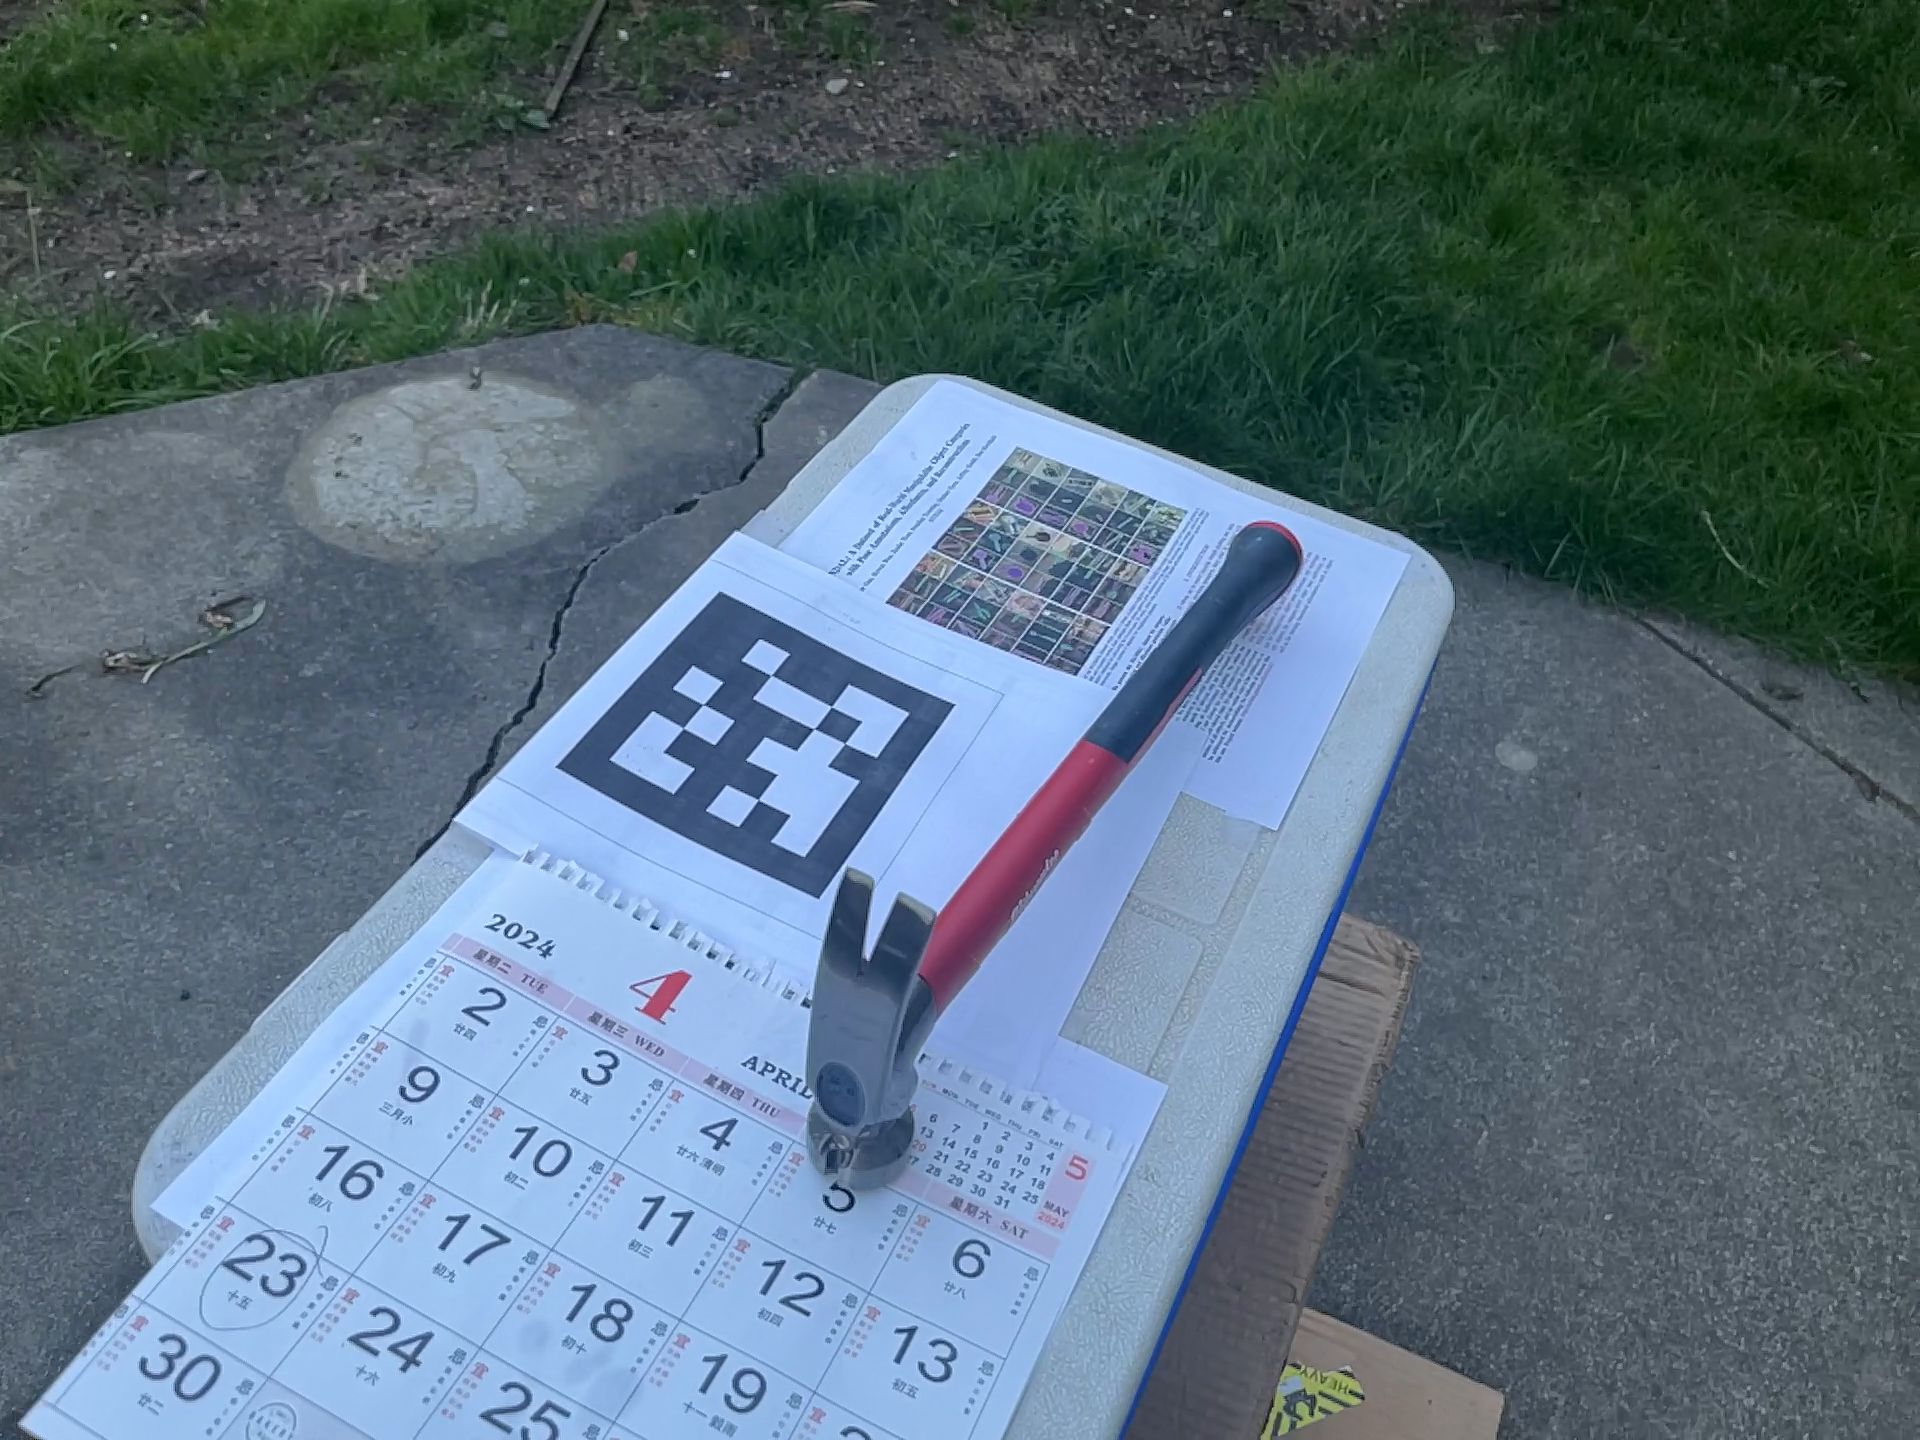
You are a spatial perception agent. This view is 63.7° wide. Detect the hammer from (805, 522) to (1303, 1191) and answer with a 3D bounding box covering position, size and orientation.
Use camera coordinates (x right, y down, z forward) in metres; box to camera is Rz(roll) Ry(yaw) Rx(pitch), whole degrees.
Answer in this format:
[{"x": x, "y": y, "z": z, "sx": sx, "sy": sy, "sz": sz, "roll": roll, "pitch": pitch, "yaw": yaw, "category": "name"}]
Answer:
[{"x": 0.060, "y": 0.007, "z": 0.623, "sx": 0.038, "sy": 0.143, "sz": 0.386, "roll": 26, "pitch": 45, "yaw": 17, "category": "hammer"}]
